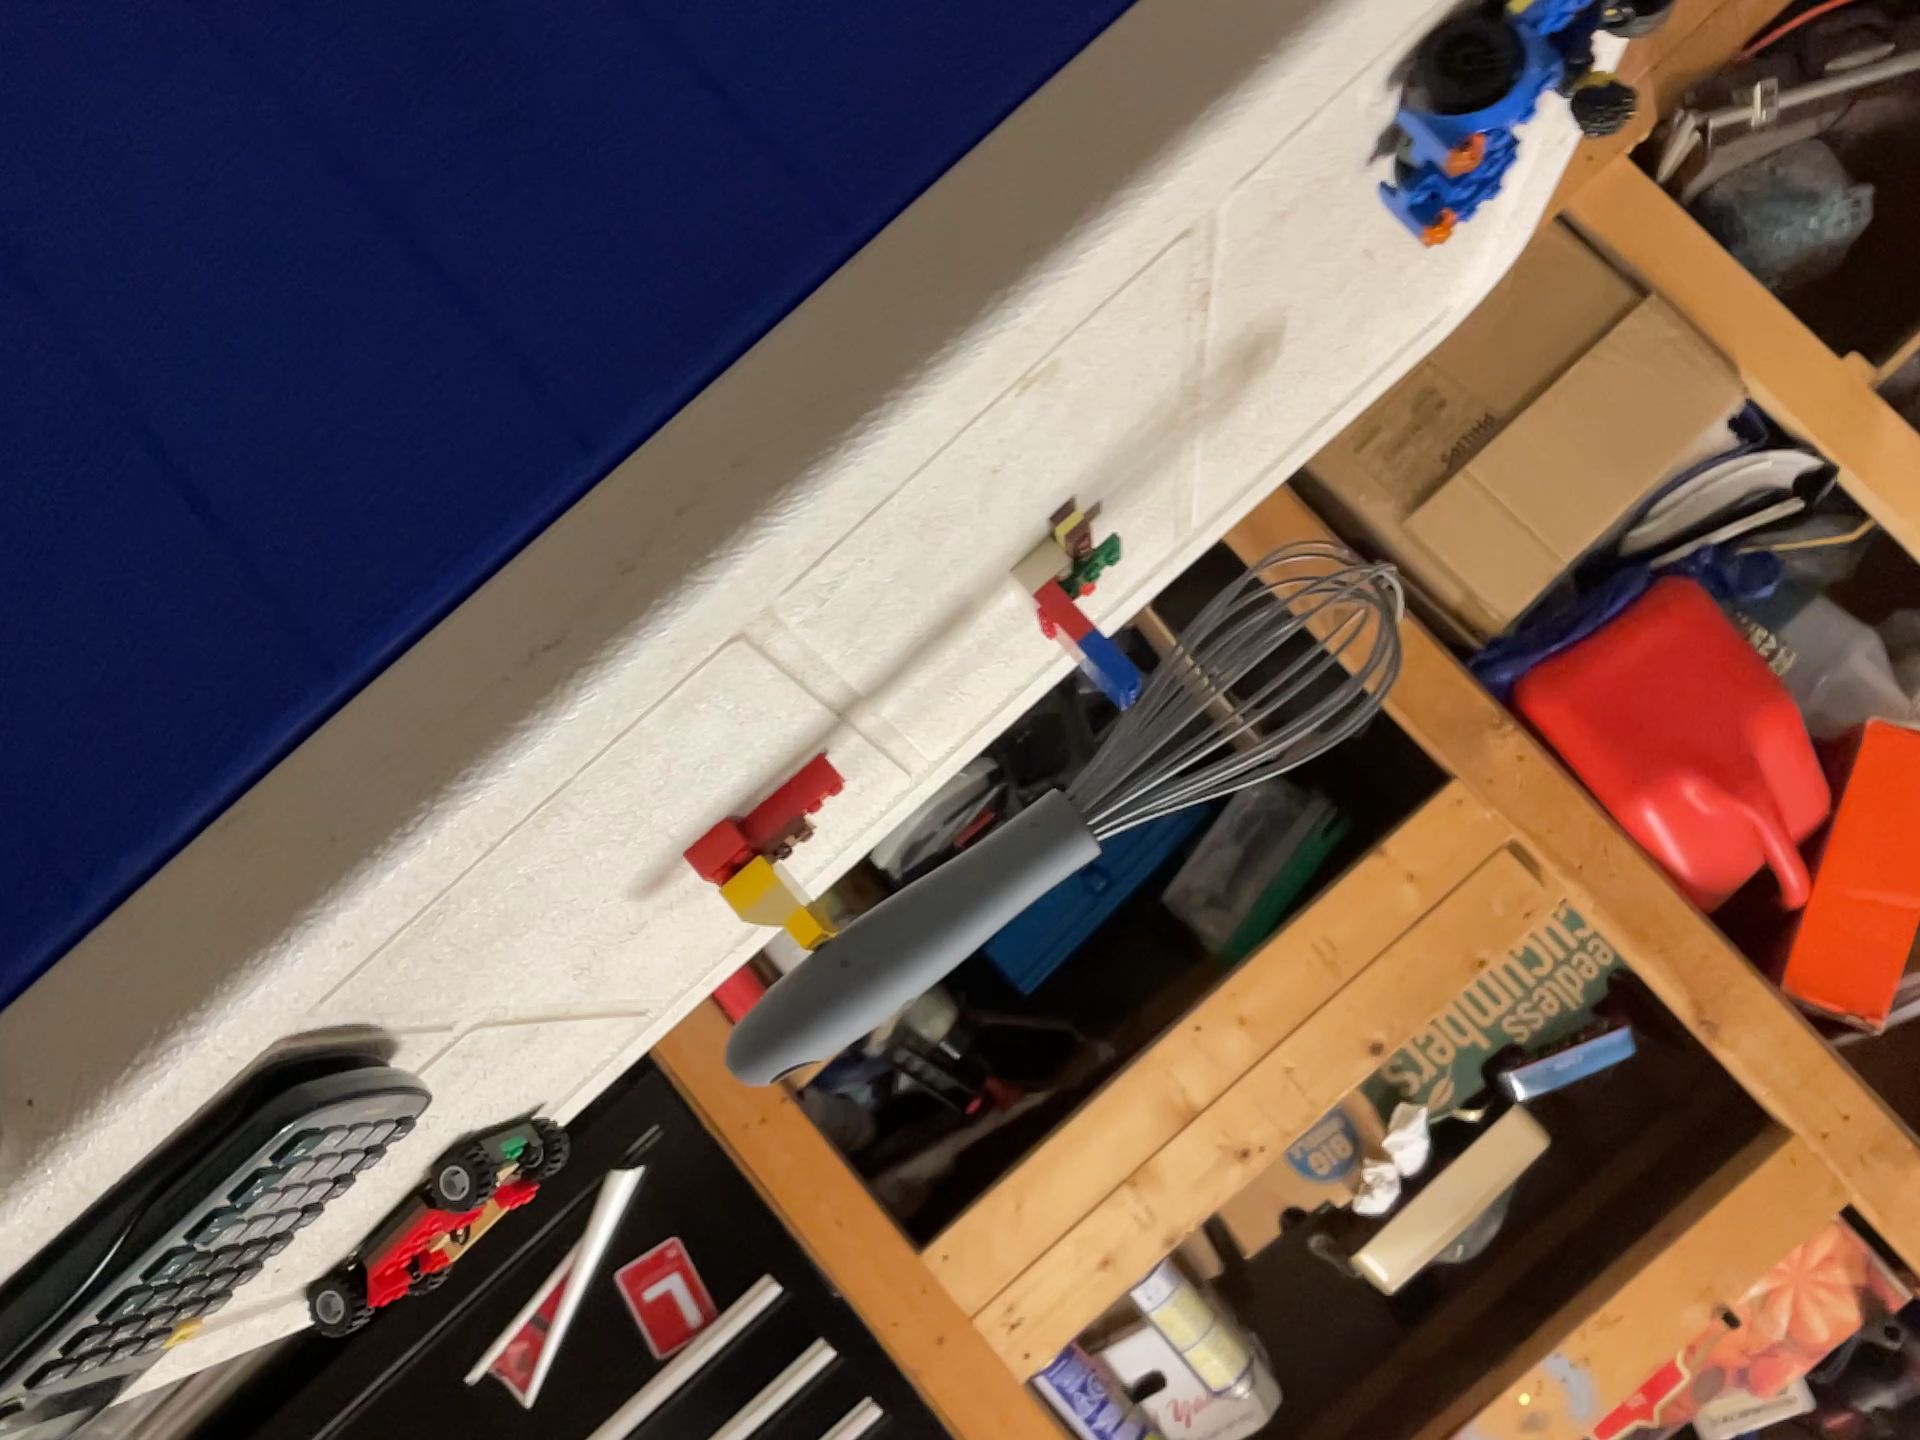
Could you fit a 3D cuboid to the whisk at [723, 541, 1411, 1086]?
[{"bbox_3d":[0.031,0.028,0.455,0.239,0.055,0.055,-36,166,-4],"label":"whisk"}]
